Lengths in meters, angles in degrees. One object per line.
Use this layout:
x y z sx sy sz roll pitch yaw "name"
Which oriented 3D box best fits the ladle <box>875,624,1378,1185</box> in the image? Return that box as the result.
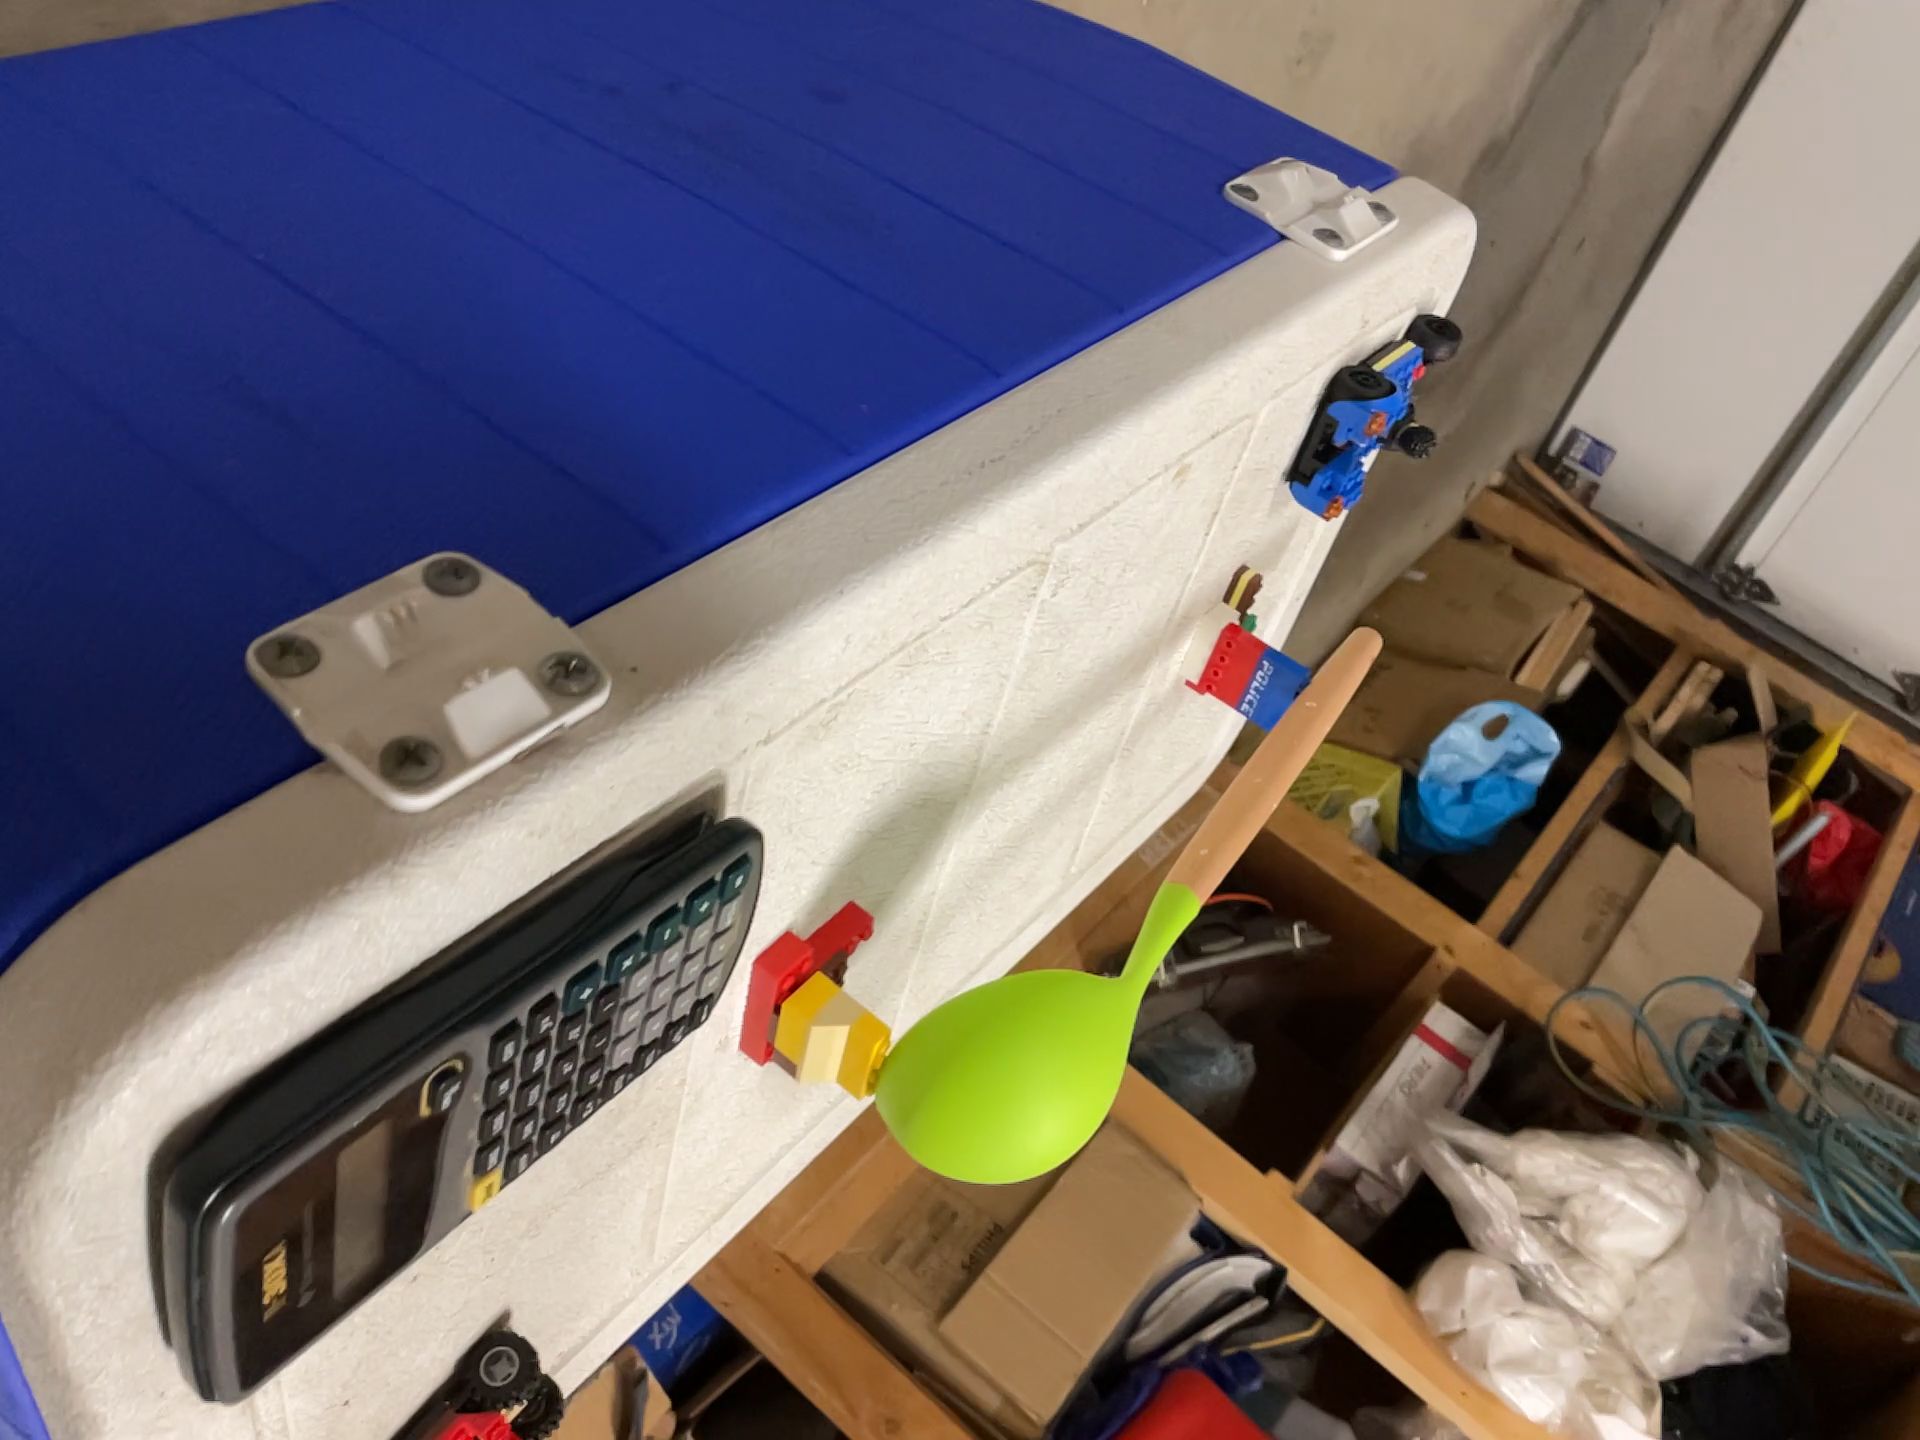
0.078 0.043 0.569 0.320 0.062 0.078 -45 154 -43 "ladle"
